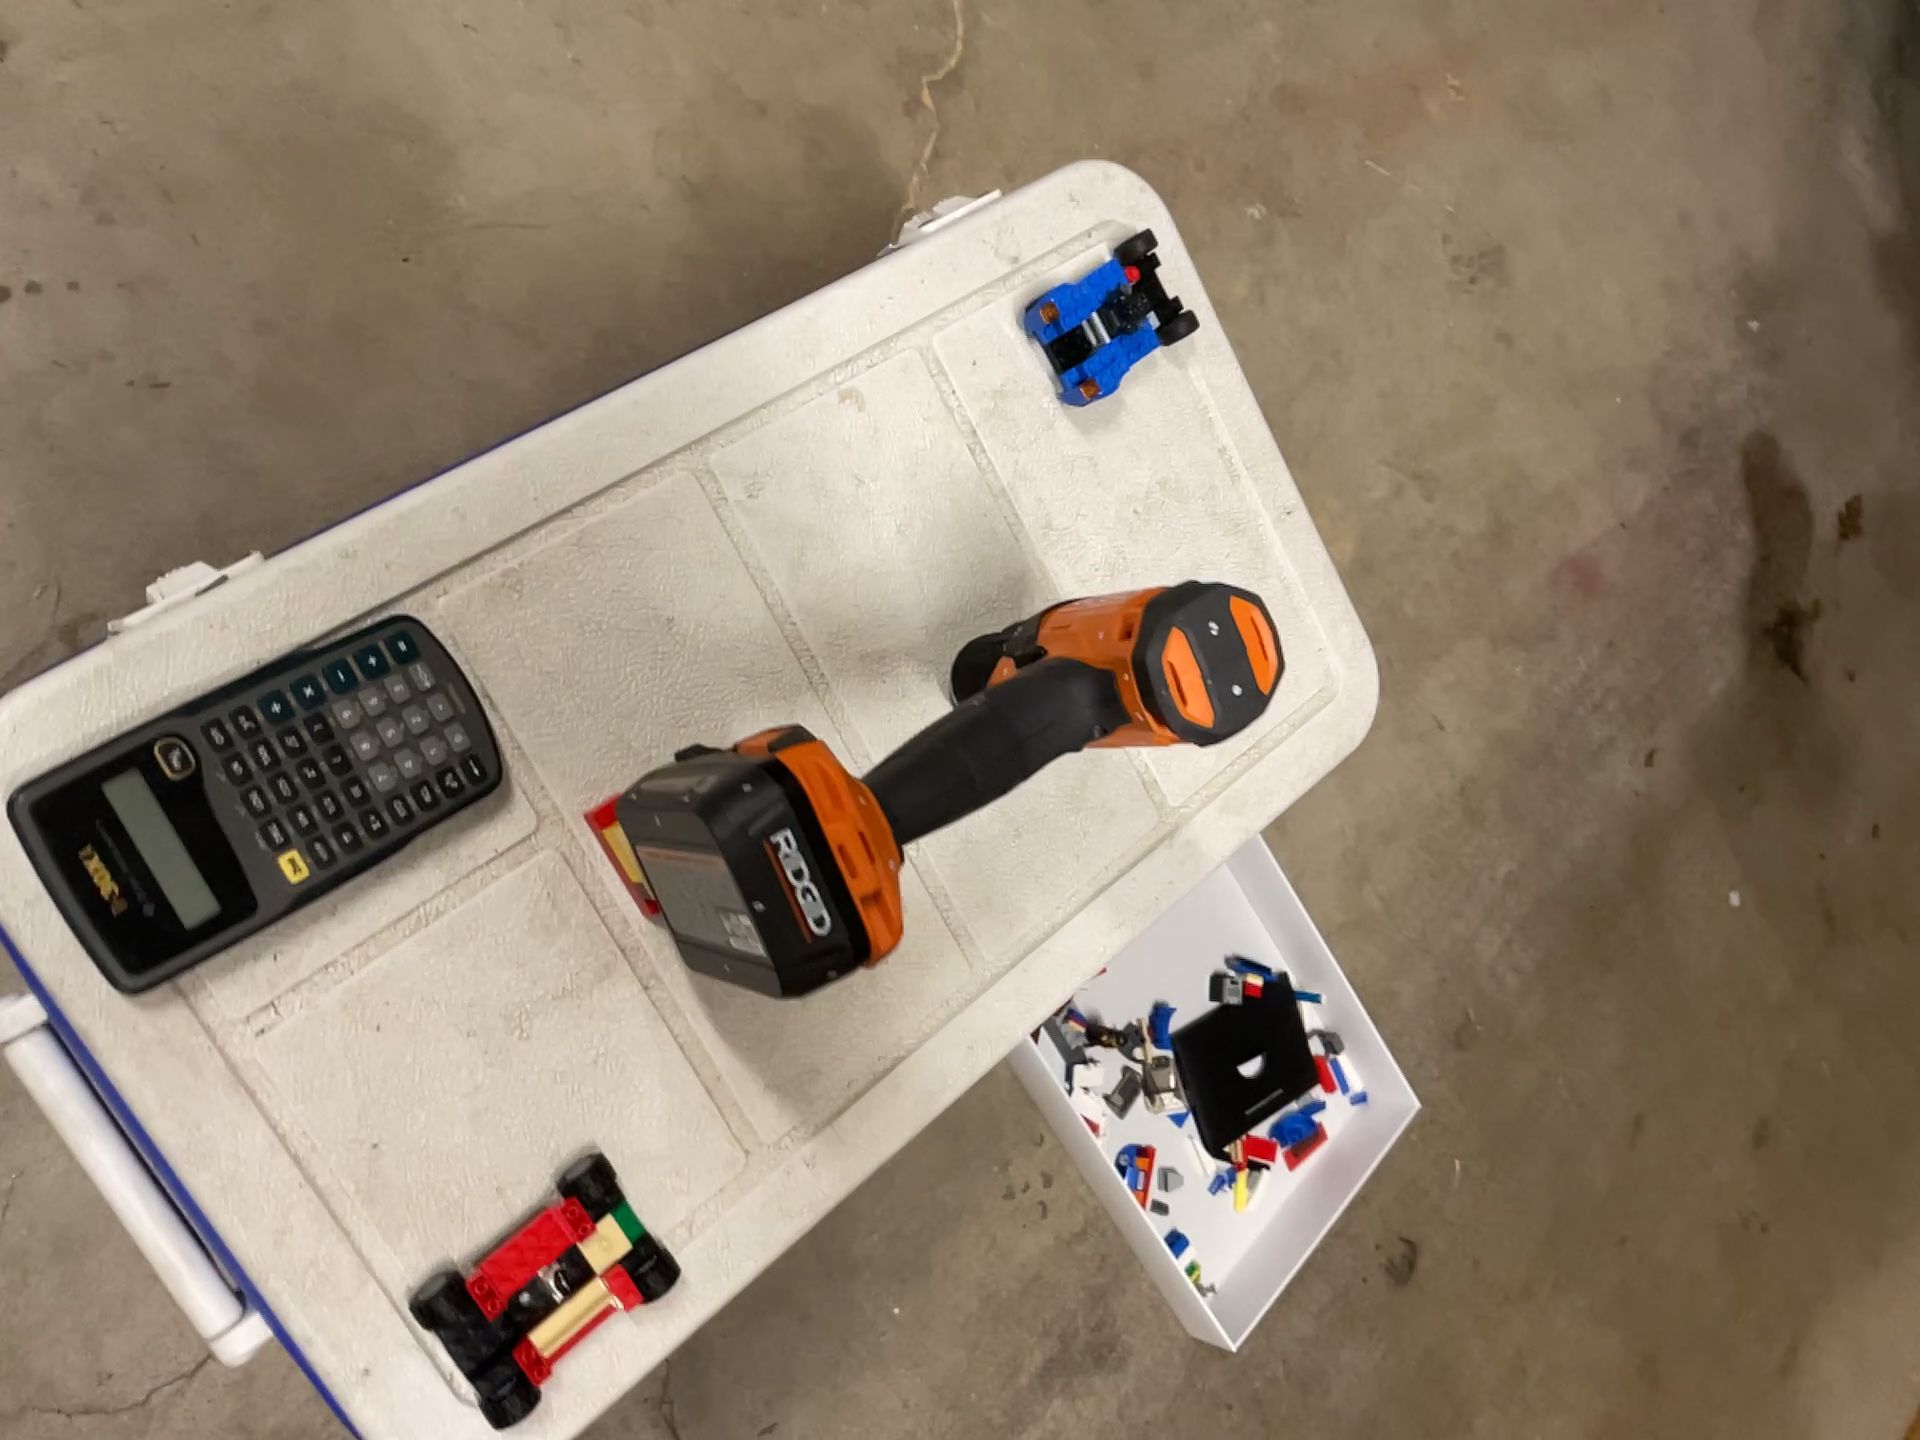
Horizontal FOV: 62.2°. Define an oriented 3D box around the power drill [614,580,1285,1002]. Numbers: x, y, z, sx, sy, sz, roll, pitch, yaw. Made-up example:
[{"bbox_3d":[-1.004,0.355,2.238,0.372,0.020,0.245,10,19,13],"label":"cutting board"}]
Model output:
[{"bbox_3d":[-0.013,0.014,0.613,0.226,0.185,0.084,-28,102,-26],"label":"power drill"}]
